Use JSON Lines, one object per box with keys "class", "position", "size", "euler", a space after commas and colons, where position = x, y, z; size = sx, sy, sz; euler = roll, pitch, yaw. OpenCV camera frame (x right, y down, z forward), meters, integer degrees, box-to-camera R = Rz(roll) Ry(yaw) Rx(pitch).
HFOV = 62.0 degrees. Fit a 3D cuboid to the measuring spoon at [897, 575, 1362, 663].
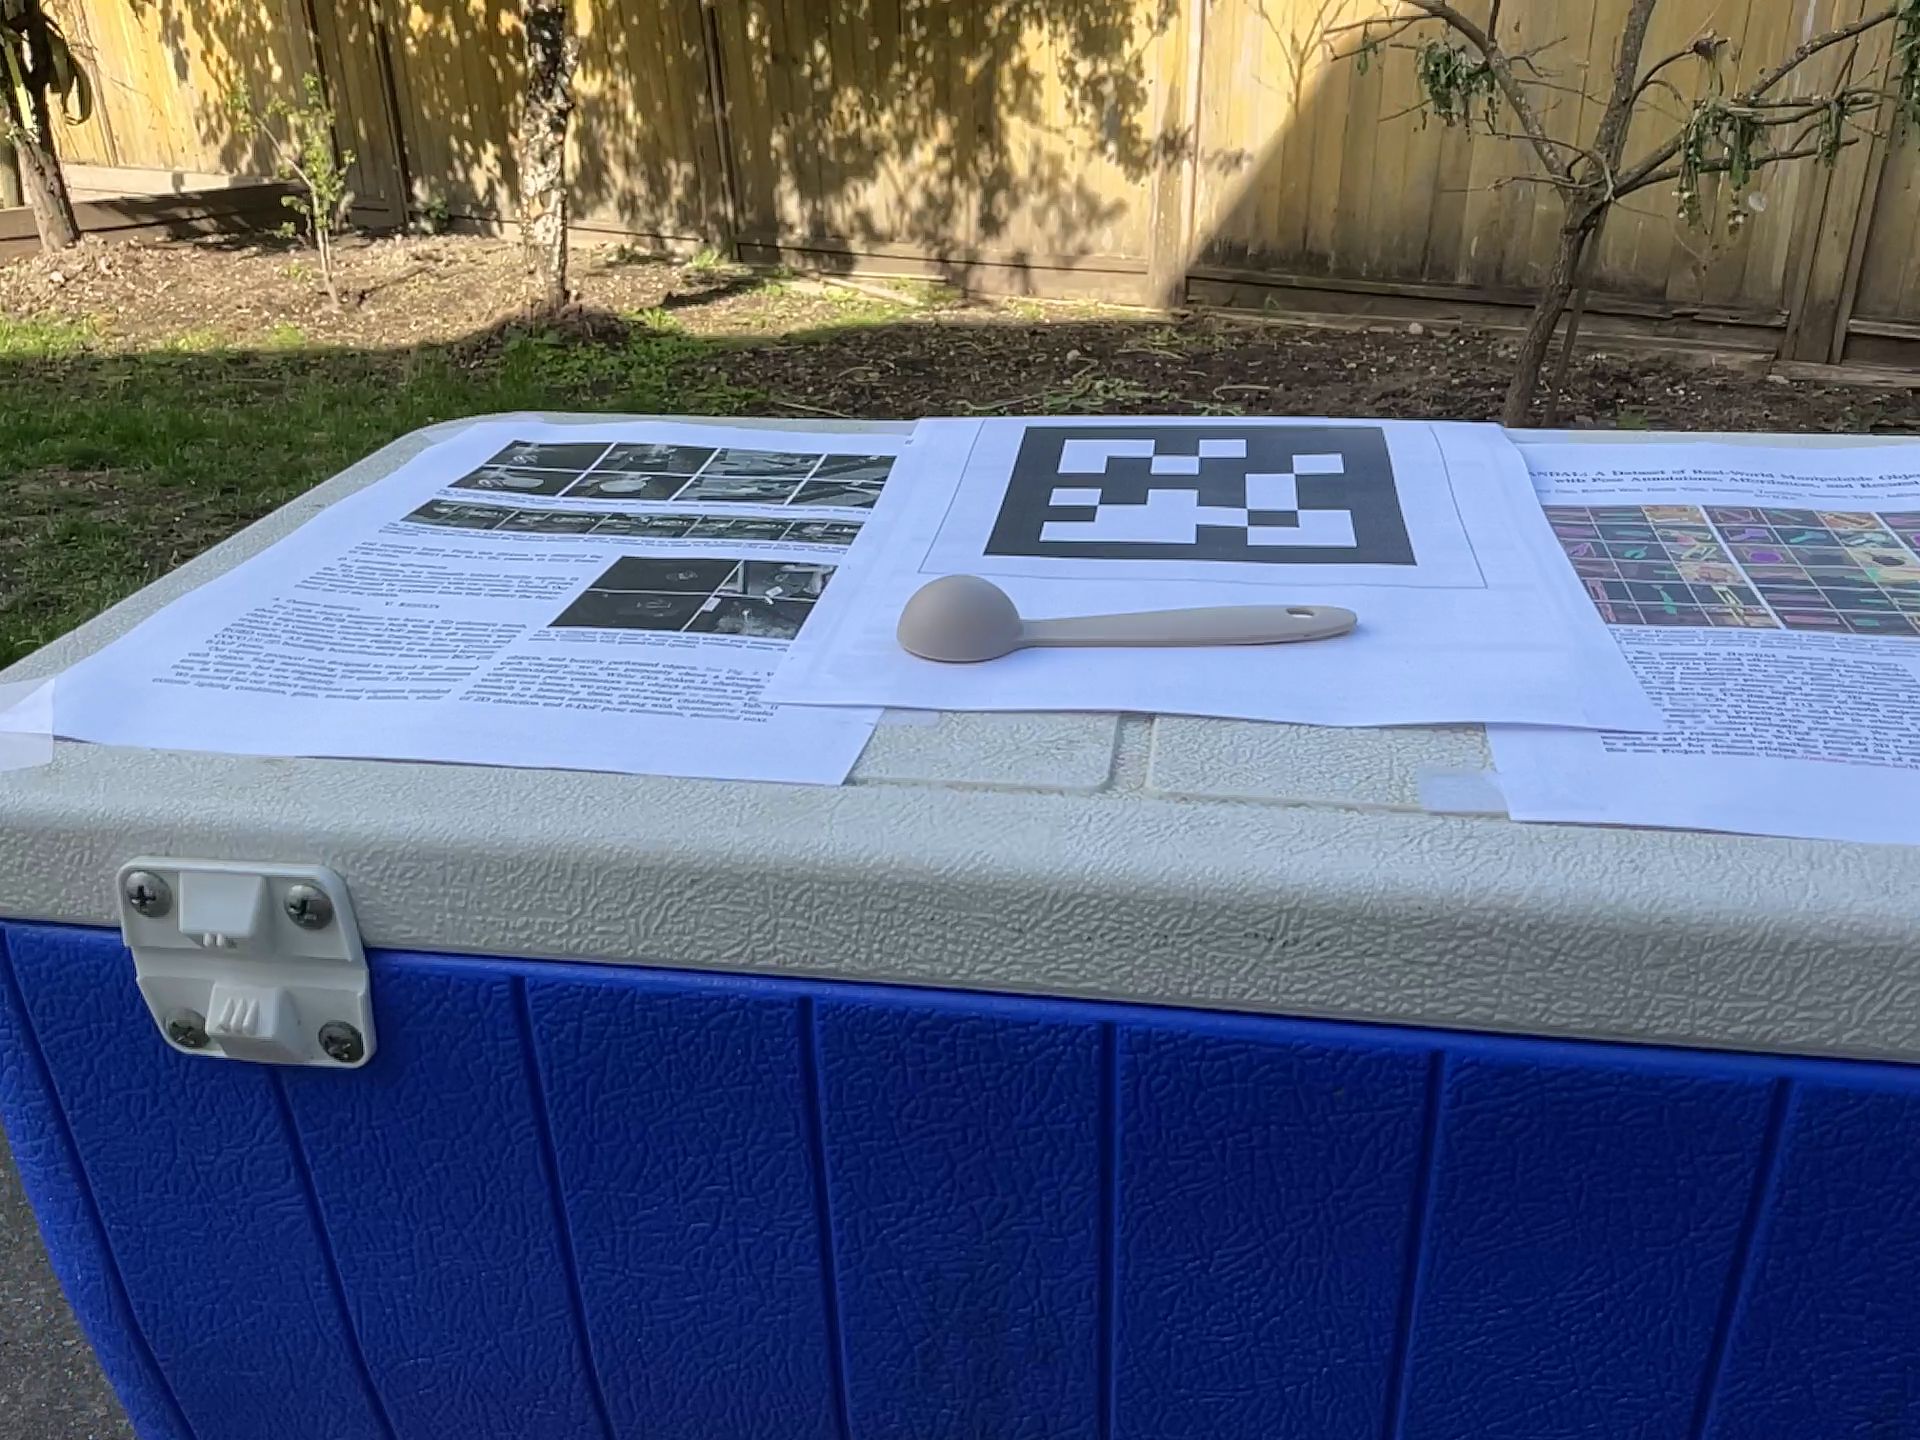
{"class": "measuring spoon", "position": [0.045, -0.031, 0.424], "size": [0.124, 0.018, 0.034], "euler": [-2, 25, 0]}
